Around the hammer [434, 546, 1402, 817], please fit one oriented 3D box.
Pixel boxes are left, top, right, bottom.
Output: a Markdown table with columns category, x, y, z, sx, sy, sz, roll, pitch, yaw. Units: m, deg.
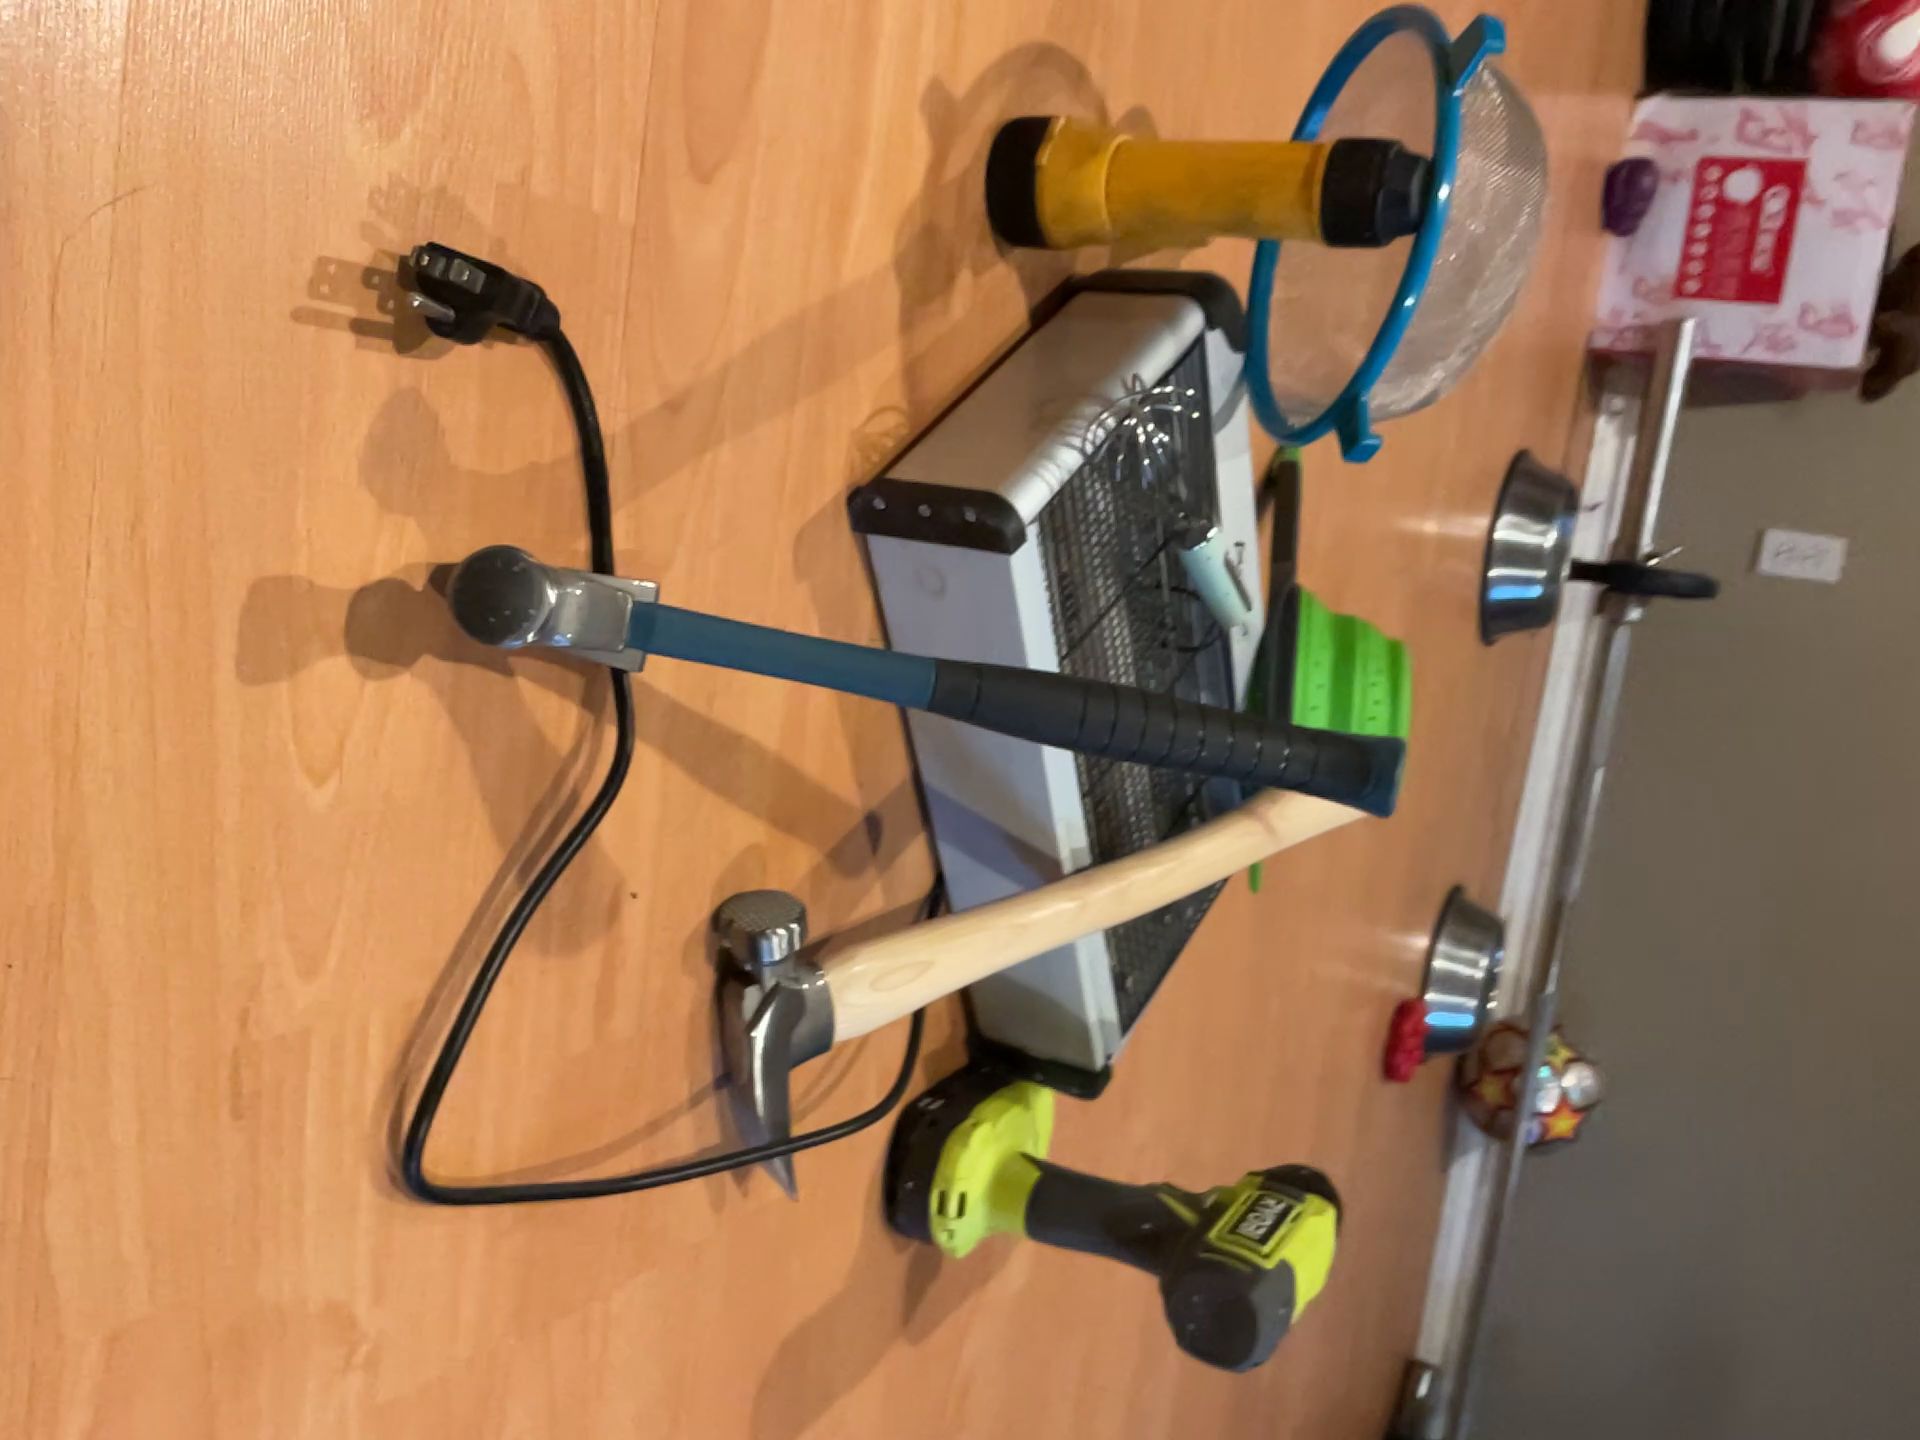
| category | x | y | z | sx | sy | sz | roll | pitch | yaw |
| --- | --- | --- | --- | --- | --- | --- | --- | --- | --- |
| hammer | 0.000 | -0.009 | 0.542 | 0.128 | 0.331 | 0.033 | -164 | -95 | -78 |

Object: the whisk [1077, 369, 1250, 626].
| category | x | y | z | sx | sy | sz | roll | pitch | yaw |
| --- | --- | --- | --- | --- | --- | --- | --- | --- | --- |
| whisk | 0.113 | -0.100 | 0.799 | 0.246 | 0.059 | 0.058 | 43 | 33 | -62 |

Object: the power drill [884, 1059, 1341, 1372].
| category | x | y | z | sx | sy | sz | roll | pitch | yaw |
| --- | --- | --- | --- | --- | --- | --- | --- | --- | --- |
| power drill | 0.088 | 0.259 | 0.874 | 0.171 | 0.223 | 0.080 | -14 | 113 | -60 |

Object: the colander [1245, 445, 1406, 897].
| category | x | y | z | sx | sy | sz | roll | pitch | yaw |
| --- | --- | --- | --- | --- | --- | --- | --- | --- | --- |
| colander | 0.255 | -0.060 | 1.105 | 0.204 | 0.094 | 0.397 | 81 | 17 | -47 |

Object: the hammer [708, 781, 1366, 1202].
| category | x | y | z | sx | sy | sz | roll | pitch | yaw |
| --- | --- | --- | --- | --- | --- | --- | --- | --- | --- |
| hammer | 0.065 | 0.097 | 0.804 | 0.411 | 0.038 | 0.146 | -18 | 118 | -32 |

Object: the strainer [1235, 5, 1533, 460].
| category | x | y | z | sx | sy | sz | roll | pitch | yaw |
| --- | --- | --- | --- | --- | --- | --- | --- | --- | --- |
| strainer | 0.216 | -0.257 | 0.860 | 0.340 | 0.095 | 0.210 | -105 | -153 | -69 |
